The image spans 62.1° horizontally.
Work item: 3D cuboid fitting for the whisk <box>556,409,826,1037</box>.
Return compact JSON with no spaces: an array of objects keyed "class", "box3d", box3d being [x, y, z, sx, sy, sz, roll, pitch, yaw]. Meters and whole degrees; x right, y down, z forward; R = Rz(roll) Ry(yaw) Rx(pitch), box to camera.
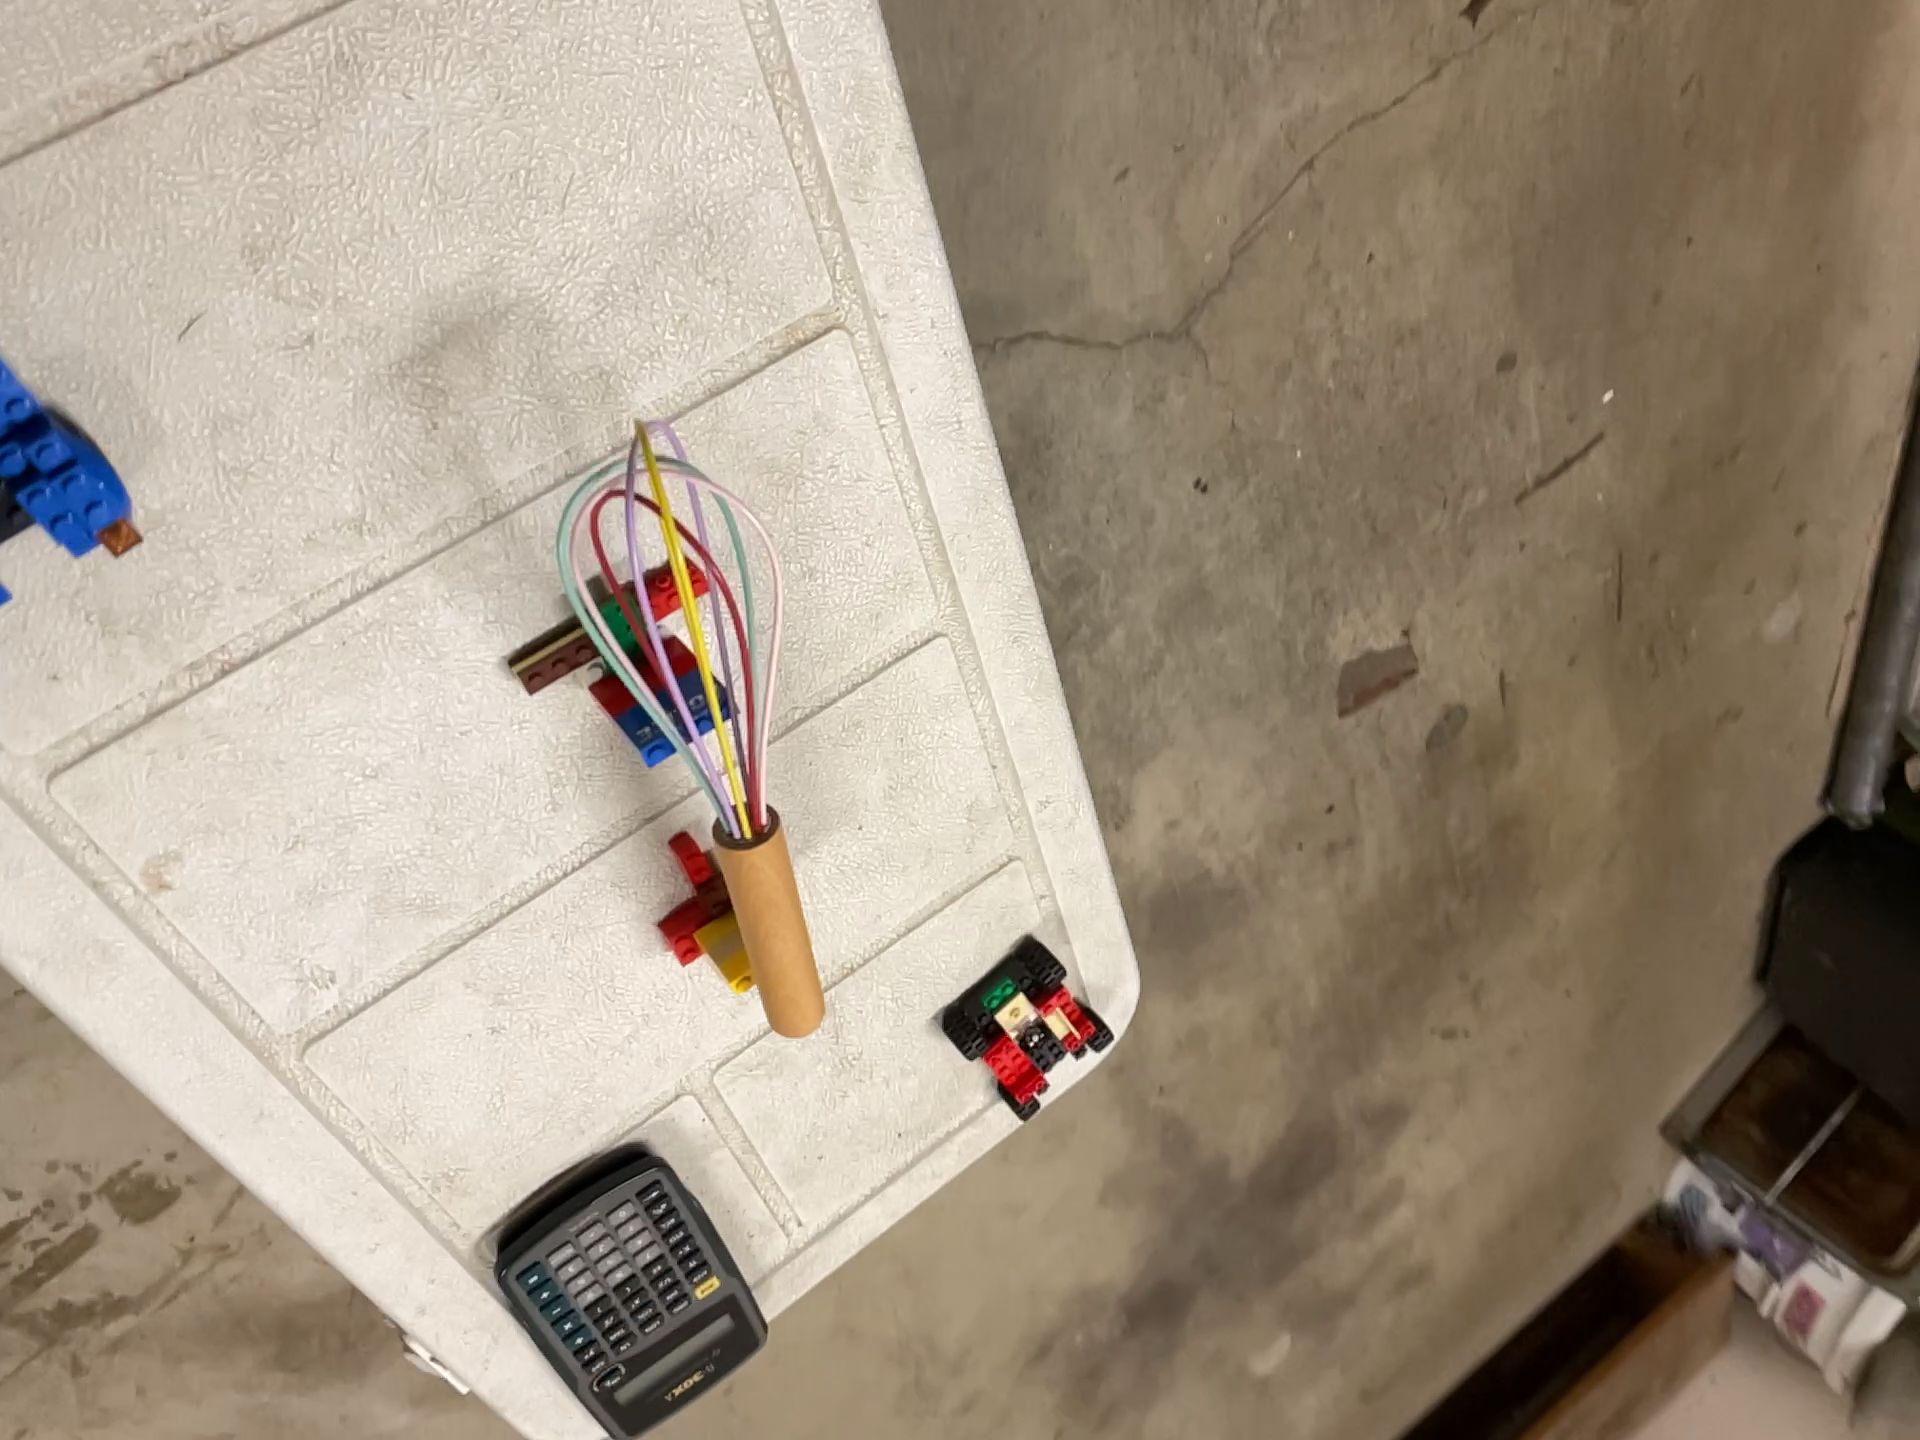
[{"class":"whisk","box3d":[-0.068,0.018,0.467,0.051,0.047,0.244,-39,142,-29]}]
